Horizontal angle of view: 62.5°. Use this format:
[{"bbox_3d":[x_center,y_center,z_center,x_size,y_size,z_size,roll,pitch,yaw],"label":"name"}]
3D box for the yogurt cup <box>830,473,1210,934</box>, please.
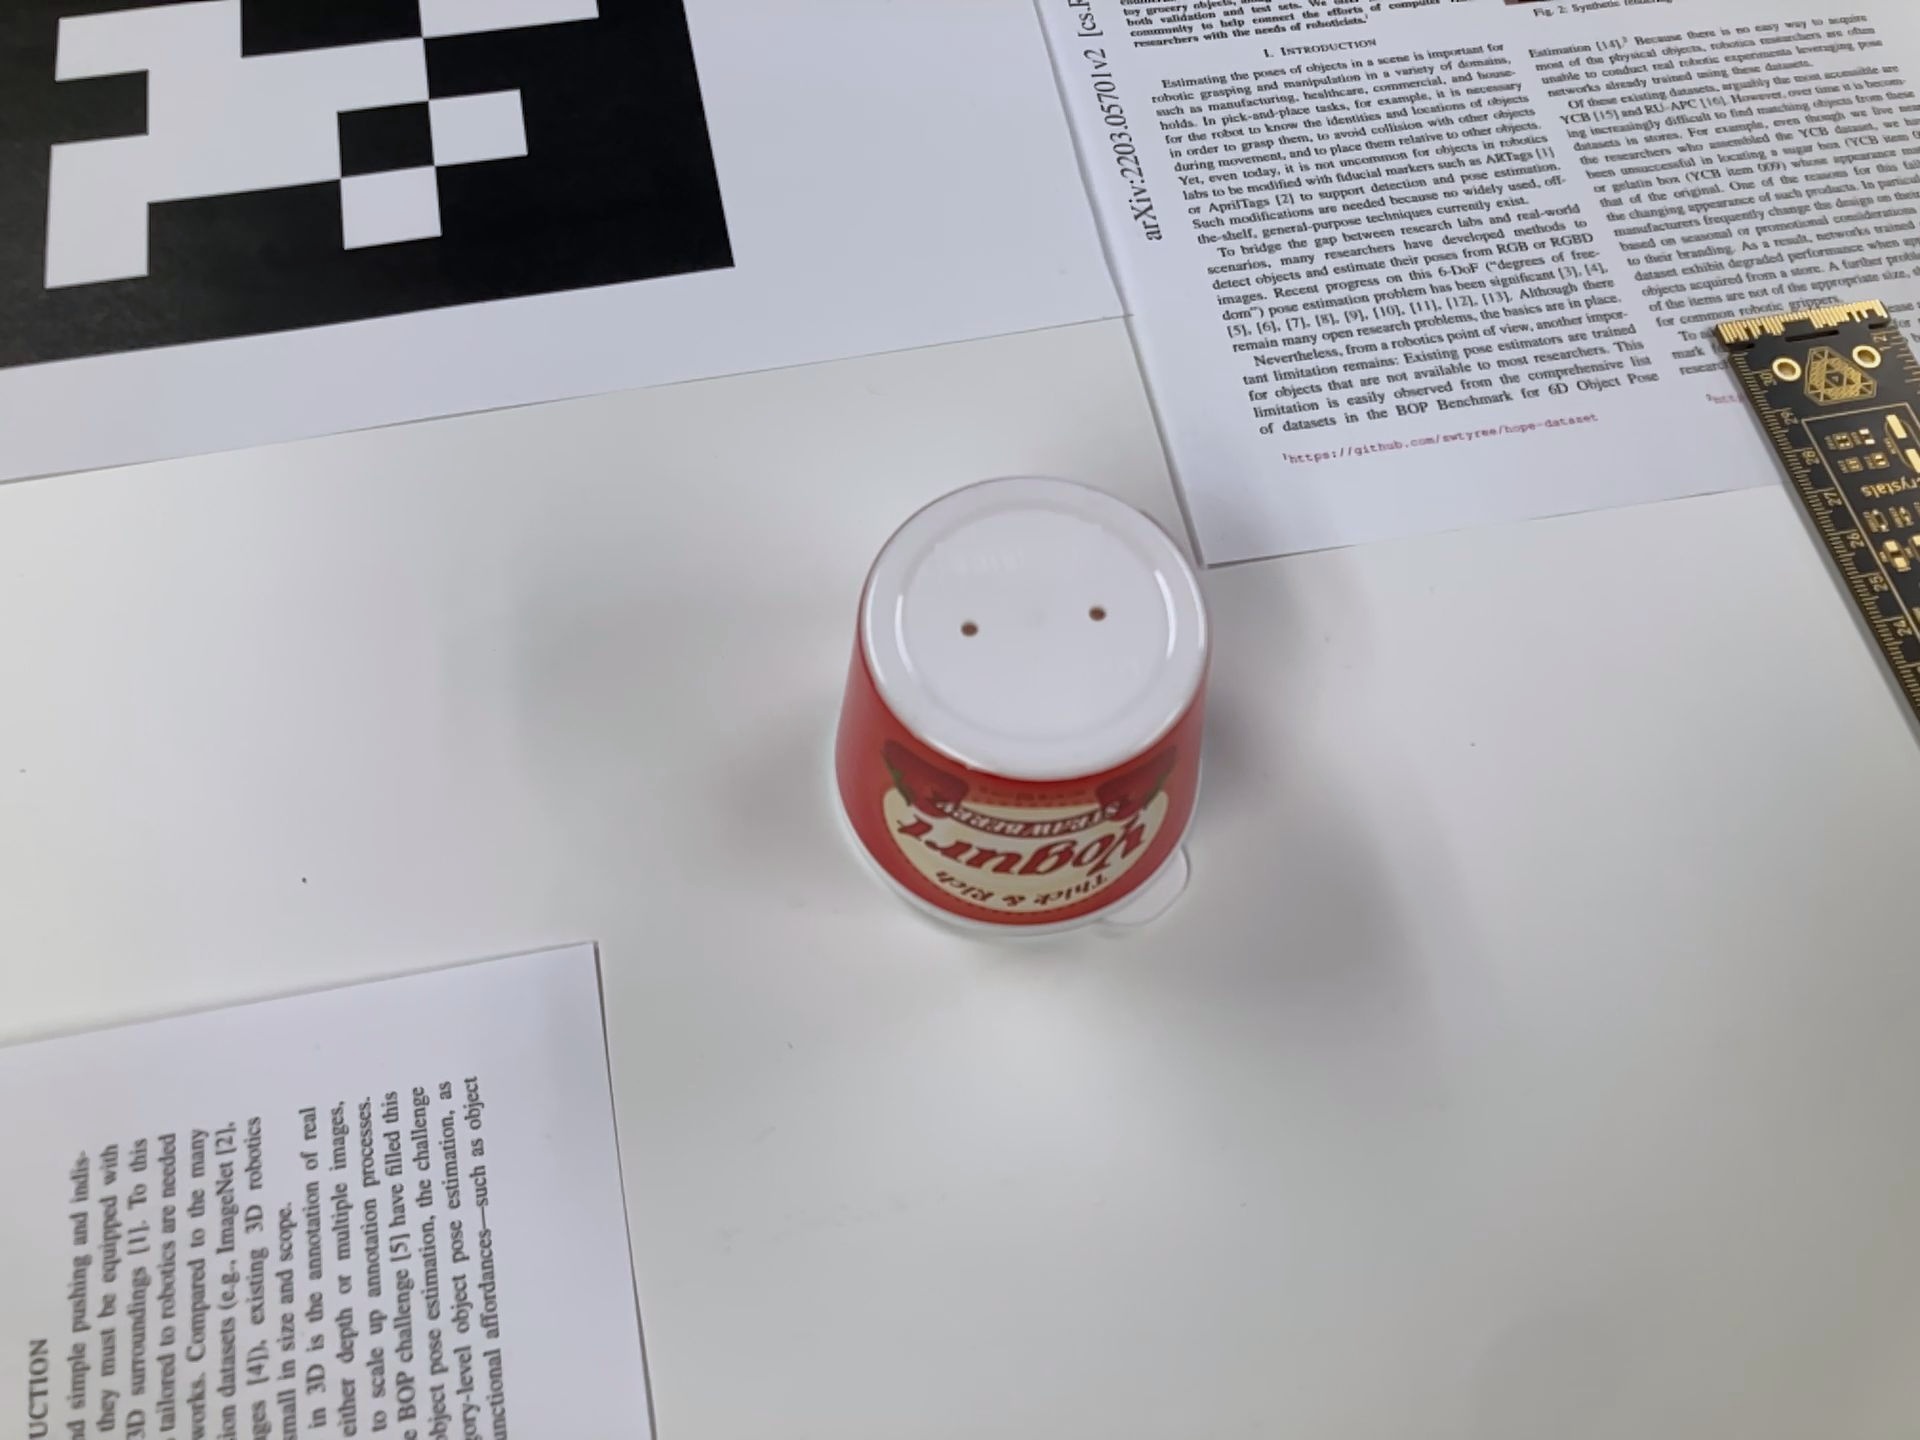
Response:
[{"bbox_3d":[0.011,-0.004,0.265,0.072,0.054,0.072,0,64,-1],"label":"yogurt cup"}]
